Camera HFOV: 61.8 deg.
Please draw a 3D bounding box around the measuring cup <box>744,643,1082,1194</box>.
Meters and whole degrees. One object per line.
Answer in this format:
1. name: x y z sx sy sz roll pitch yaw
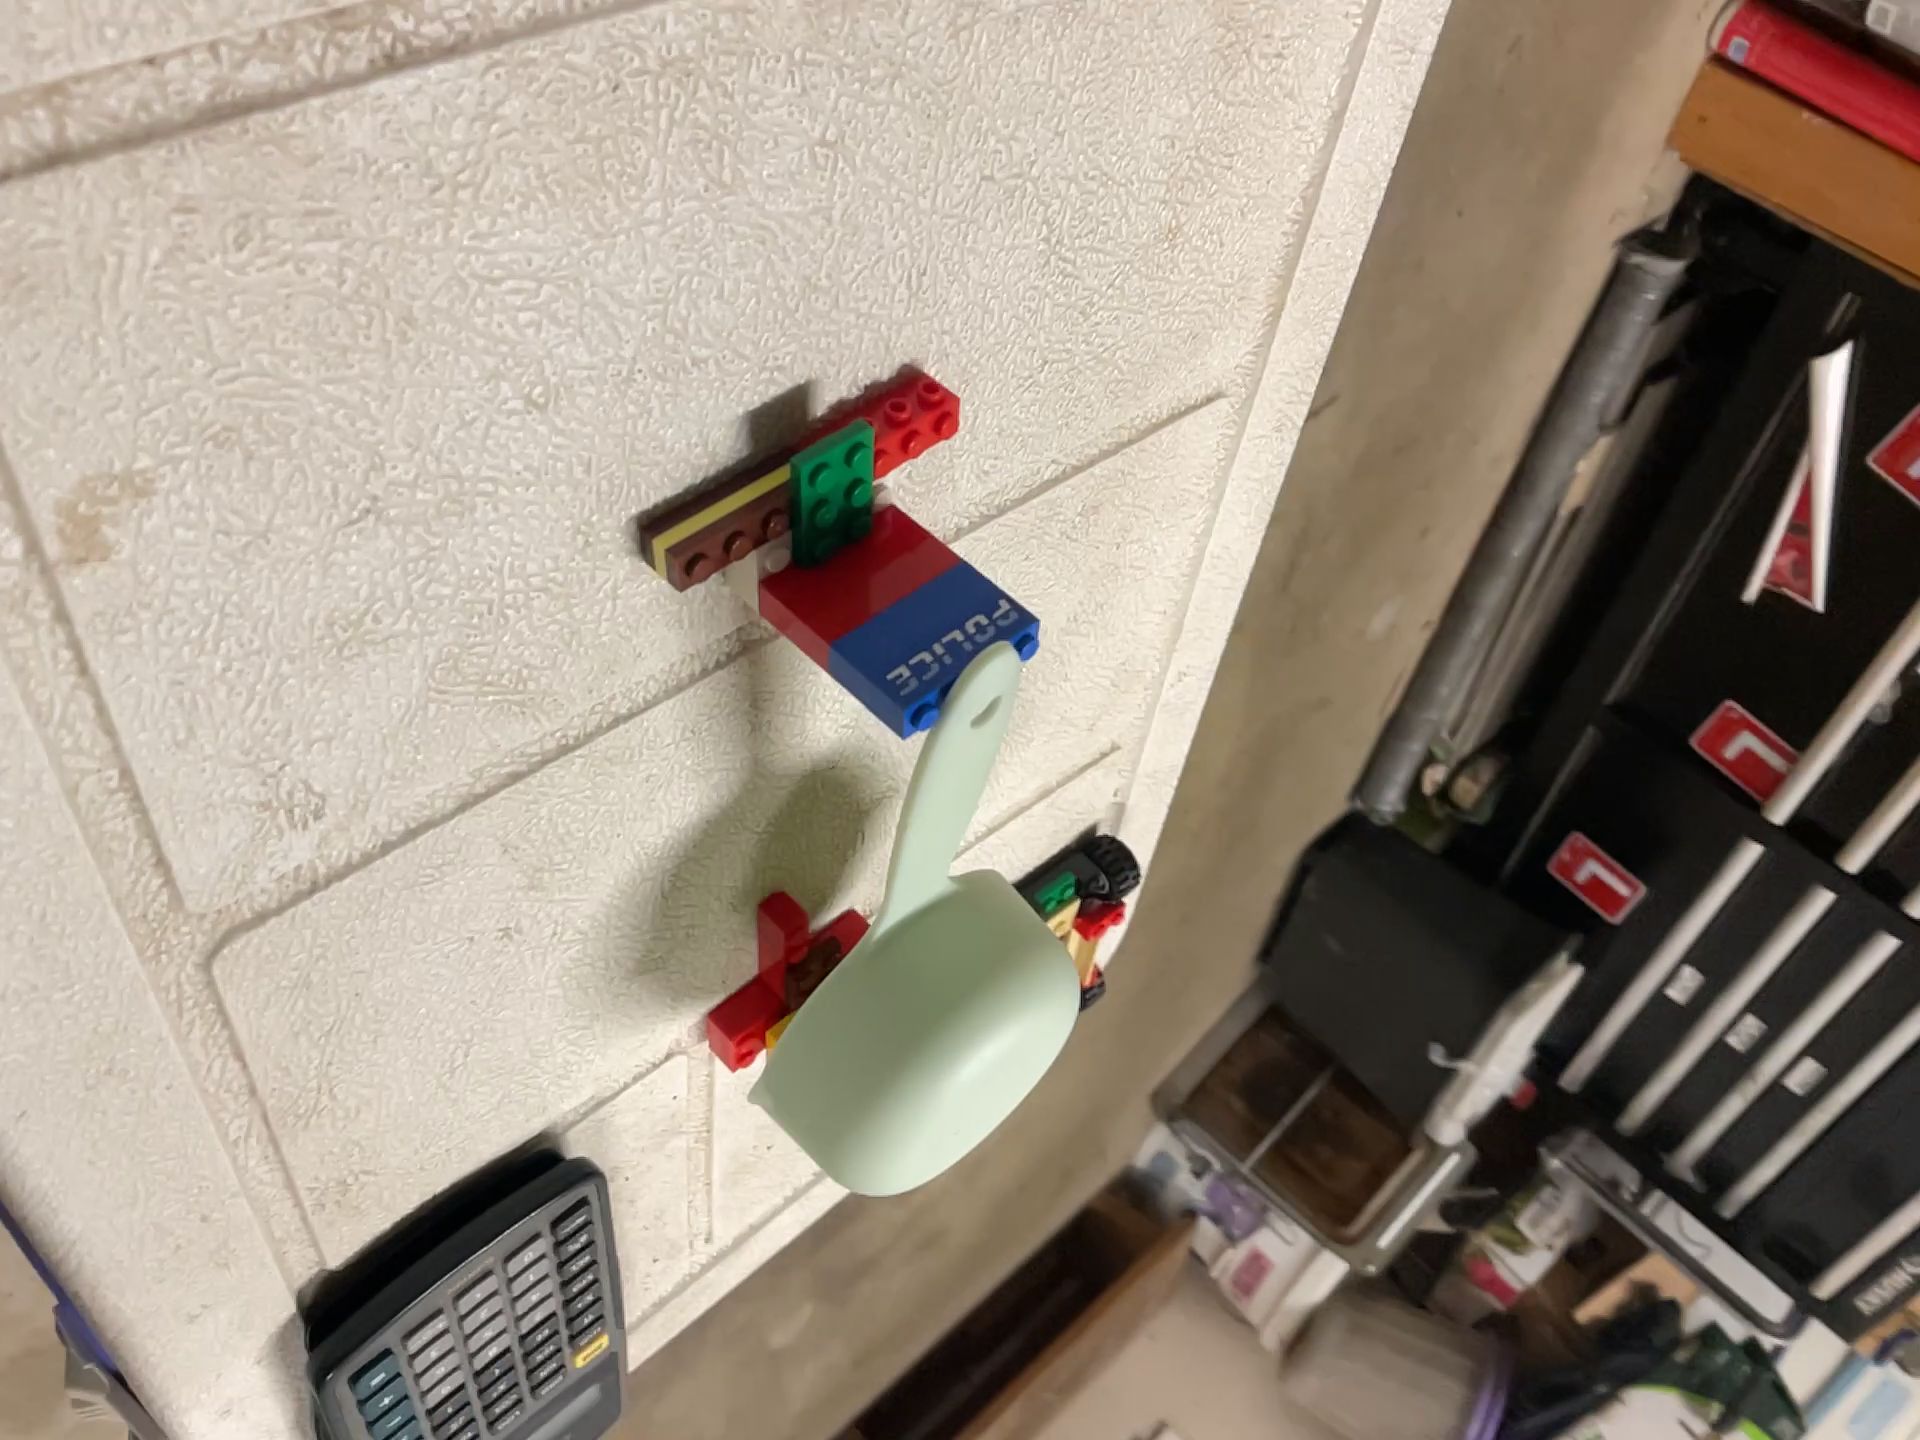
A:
1. measuring cup: 0.002 0.047 0.330 0.083 0.038 0.167 -33 157 -30
